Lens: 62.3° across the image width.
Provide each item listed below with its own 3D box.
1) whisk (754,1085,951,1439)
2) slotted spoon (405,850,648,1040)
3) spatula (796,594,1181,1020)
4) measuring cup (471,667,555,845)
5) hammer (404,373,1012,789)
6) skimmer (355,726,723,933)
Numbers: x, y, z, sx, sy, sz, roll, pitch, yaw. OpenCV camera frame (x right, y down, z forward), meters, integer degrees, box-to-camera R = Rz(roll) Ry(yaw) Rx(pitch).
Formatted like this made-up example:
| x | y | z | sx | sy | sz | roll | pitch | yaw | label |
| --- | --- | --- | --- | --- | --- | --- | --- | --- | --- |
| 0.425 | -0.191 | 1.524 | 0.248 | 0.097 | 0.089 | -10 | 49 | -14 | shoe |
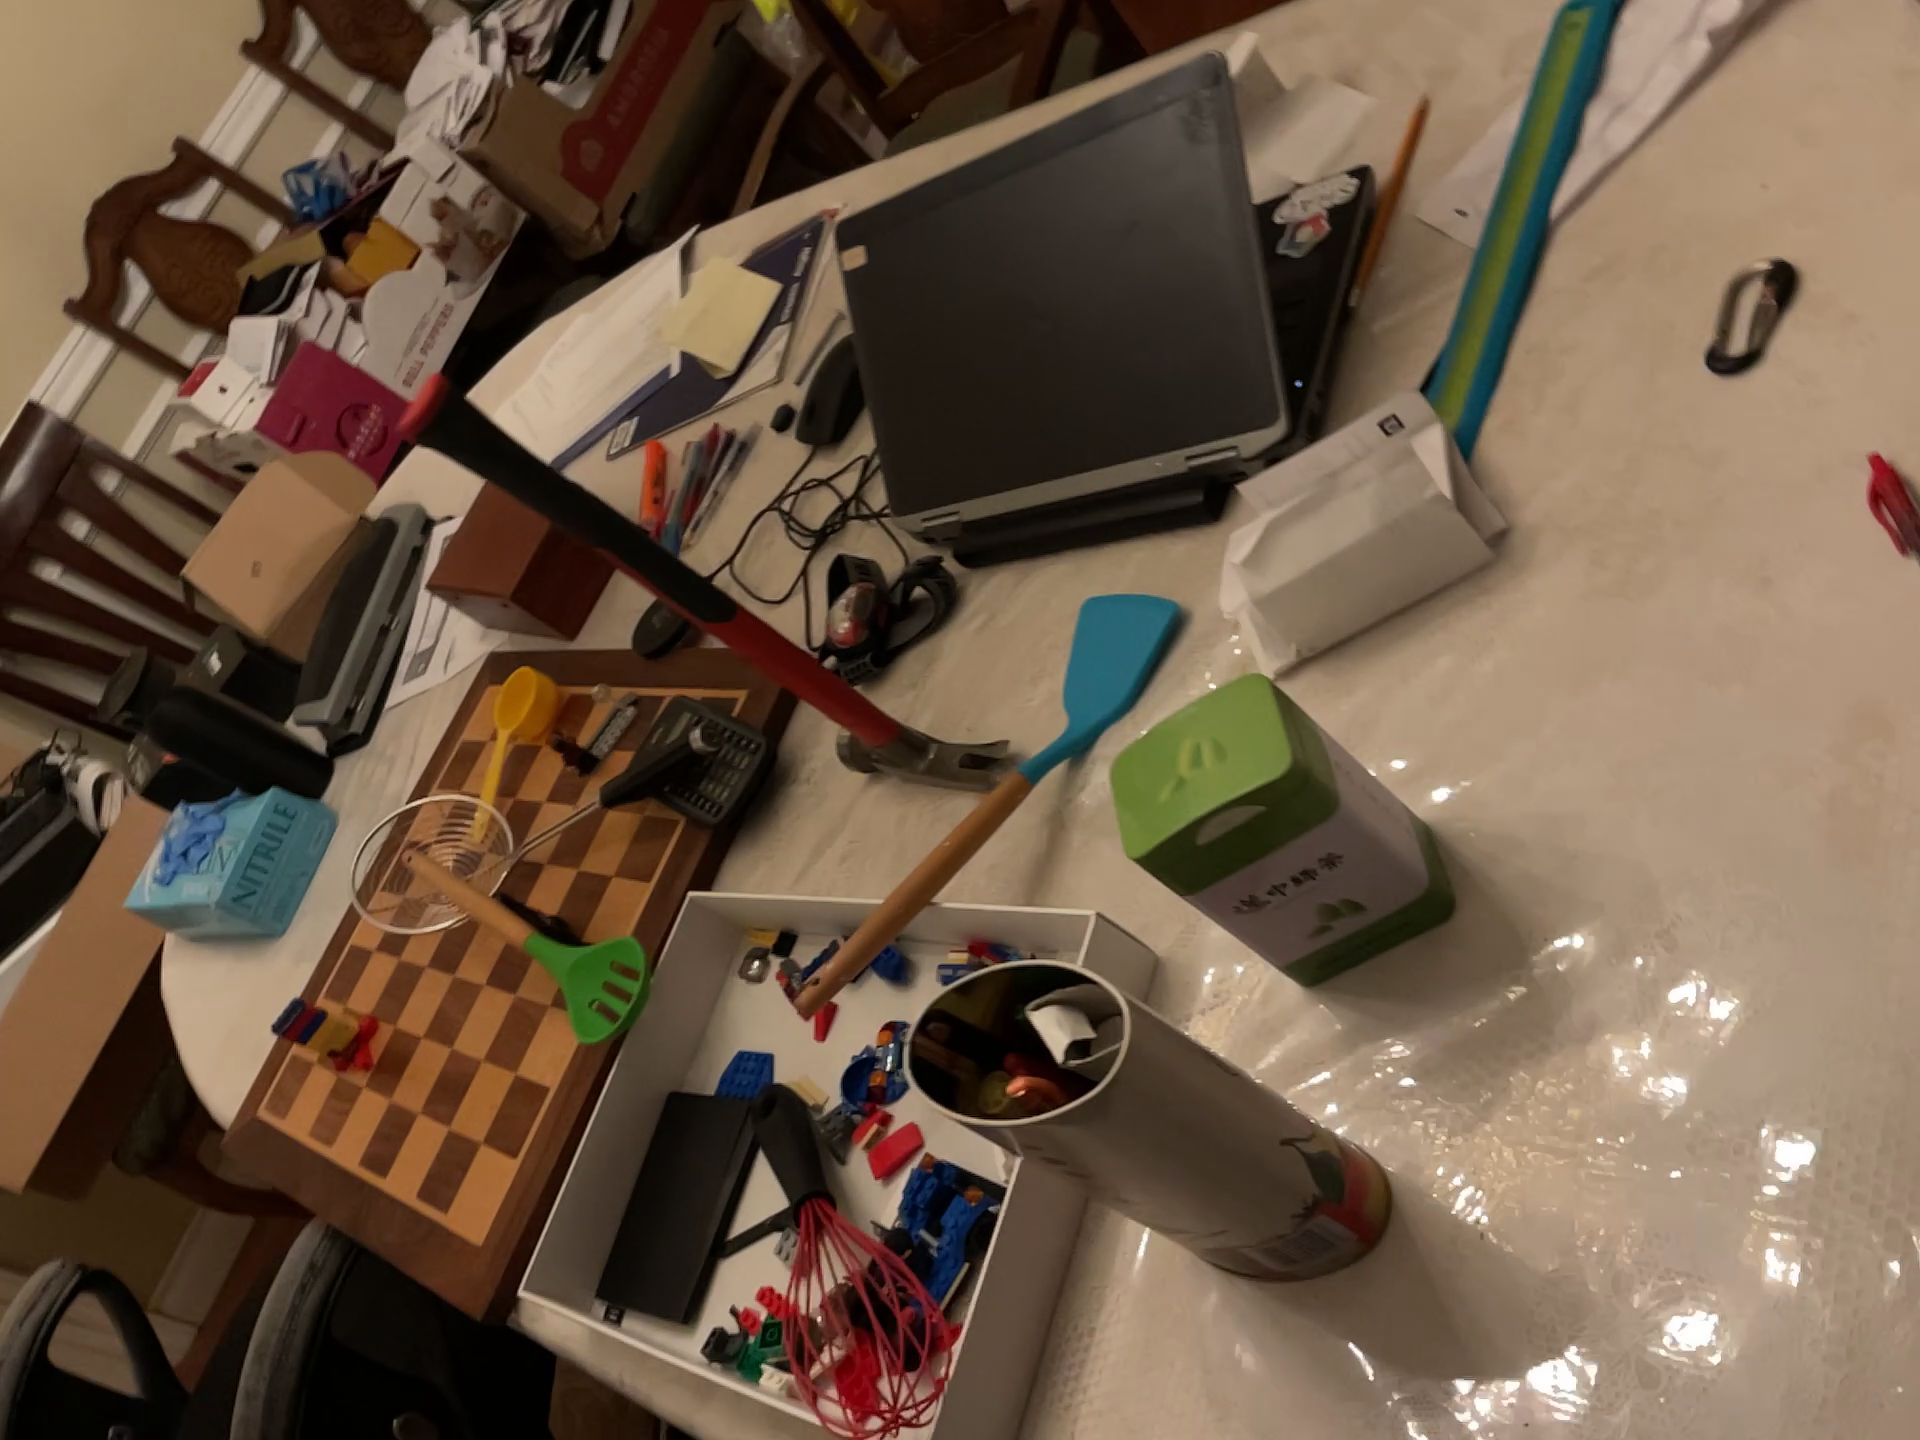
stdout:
| x | y | z | sx | sy | sz | roll | pitch | yaw | label |
| --- | --- | --- | --- | --- | --- | --- | --- | --- | --- |
| -0.068 | 0.260 | 0.805 | 0.073 | 0.073 | 0.296 | -35 | 22 | -5 | whisk |
| -0.302 | 0.141 | 1.085 | 0.314 | 0.031 | 0.070 | 20 | 78 | 43 | slotted spoon |
| 0.014 | 0.043 | 0.886 | 0.083 | 0.044 | 0.317 | 10 | 47 | 49 | spatula |
| -0.382 | 0.033 | 1.354 | 0.062 | 0.029 | 0.156 | 3 | 75 | 45 | measuring cup |
| -0.135 | -0.065 | 0.895 | 0.143 | 0.385 | 0.038 | 5 | 64 | 49 | hammer |
| -0.322 | 0.067 | 1.189 | 0.364 | 0.090 | 0.127 | -27 | 41 | 37 | skimmer |
